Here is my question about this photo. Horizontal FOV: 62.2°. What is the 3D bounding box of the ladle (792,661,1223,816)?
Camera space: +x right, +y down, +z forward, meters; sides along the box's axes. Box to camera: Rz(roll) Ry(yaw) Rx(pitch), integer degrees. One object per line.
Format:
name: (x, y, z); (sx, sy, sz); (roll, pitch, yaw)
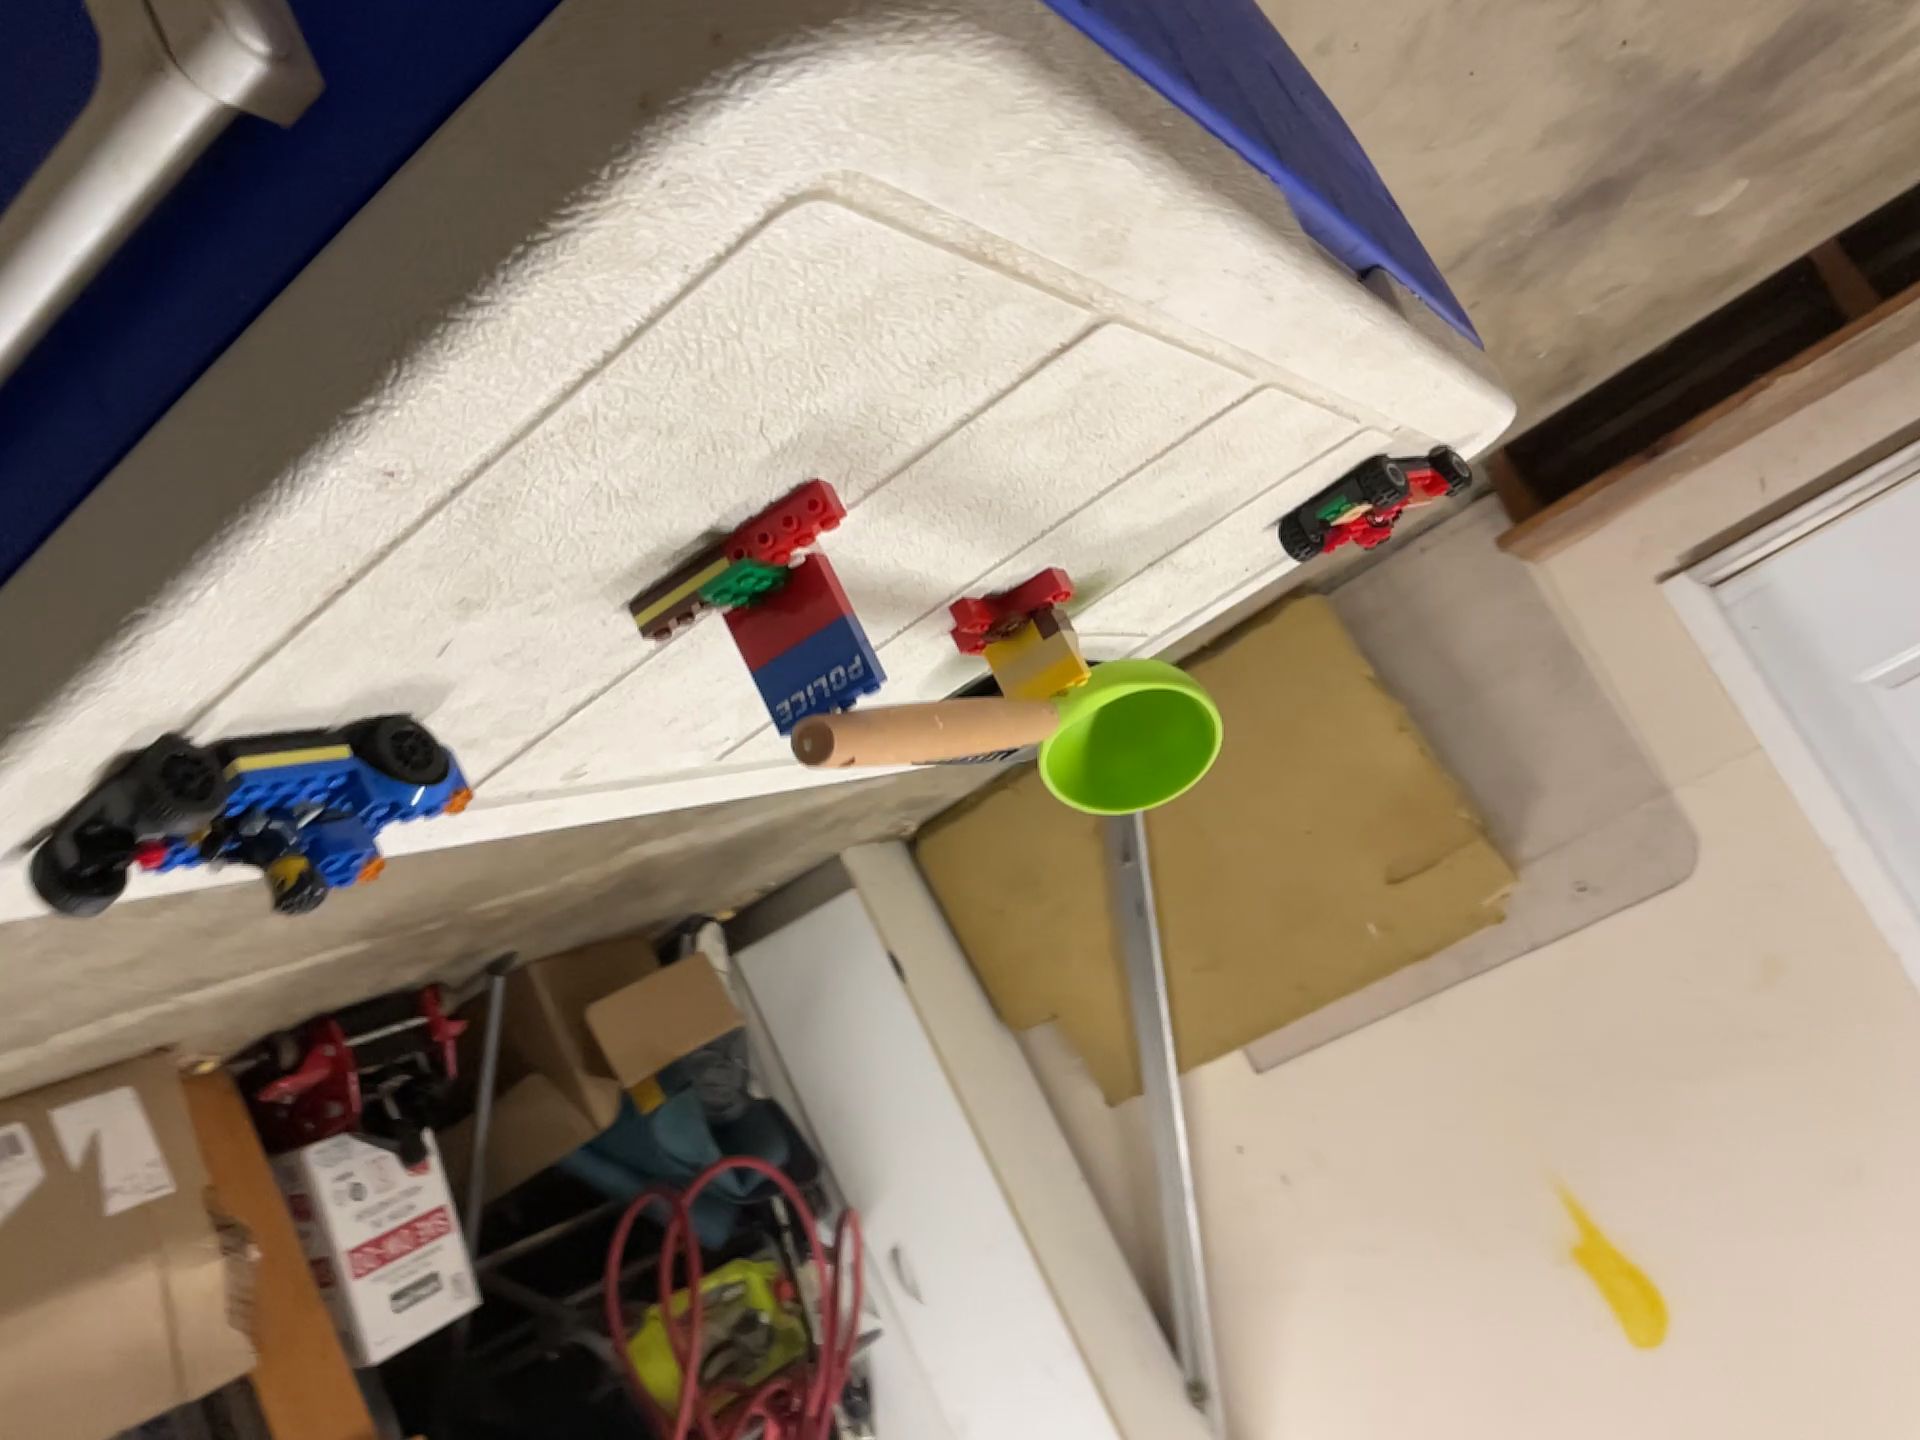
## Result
ladle: (0.025, 0.011, 0.551); (0.078, 0.062, 0.320); (-30, 171, 19)
